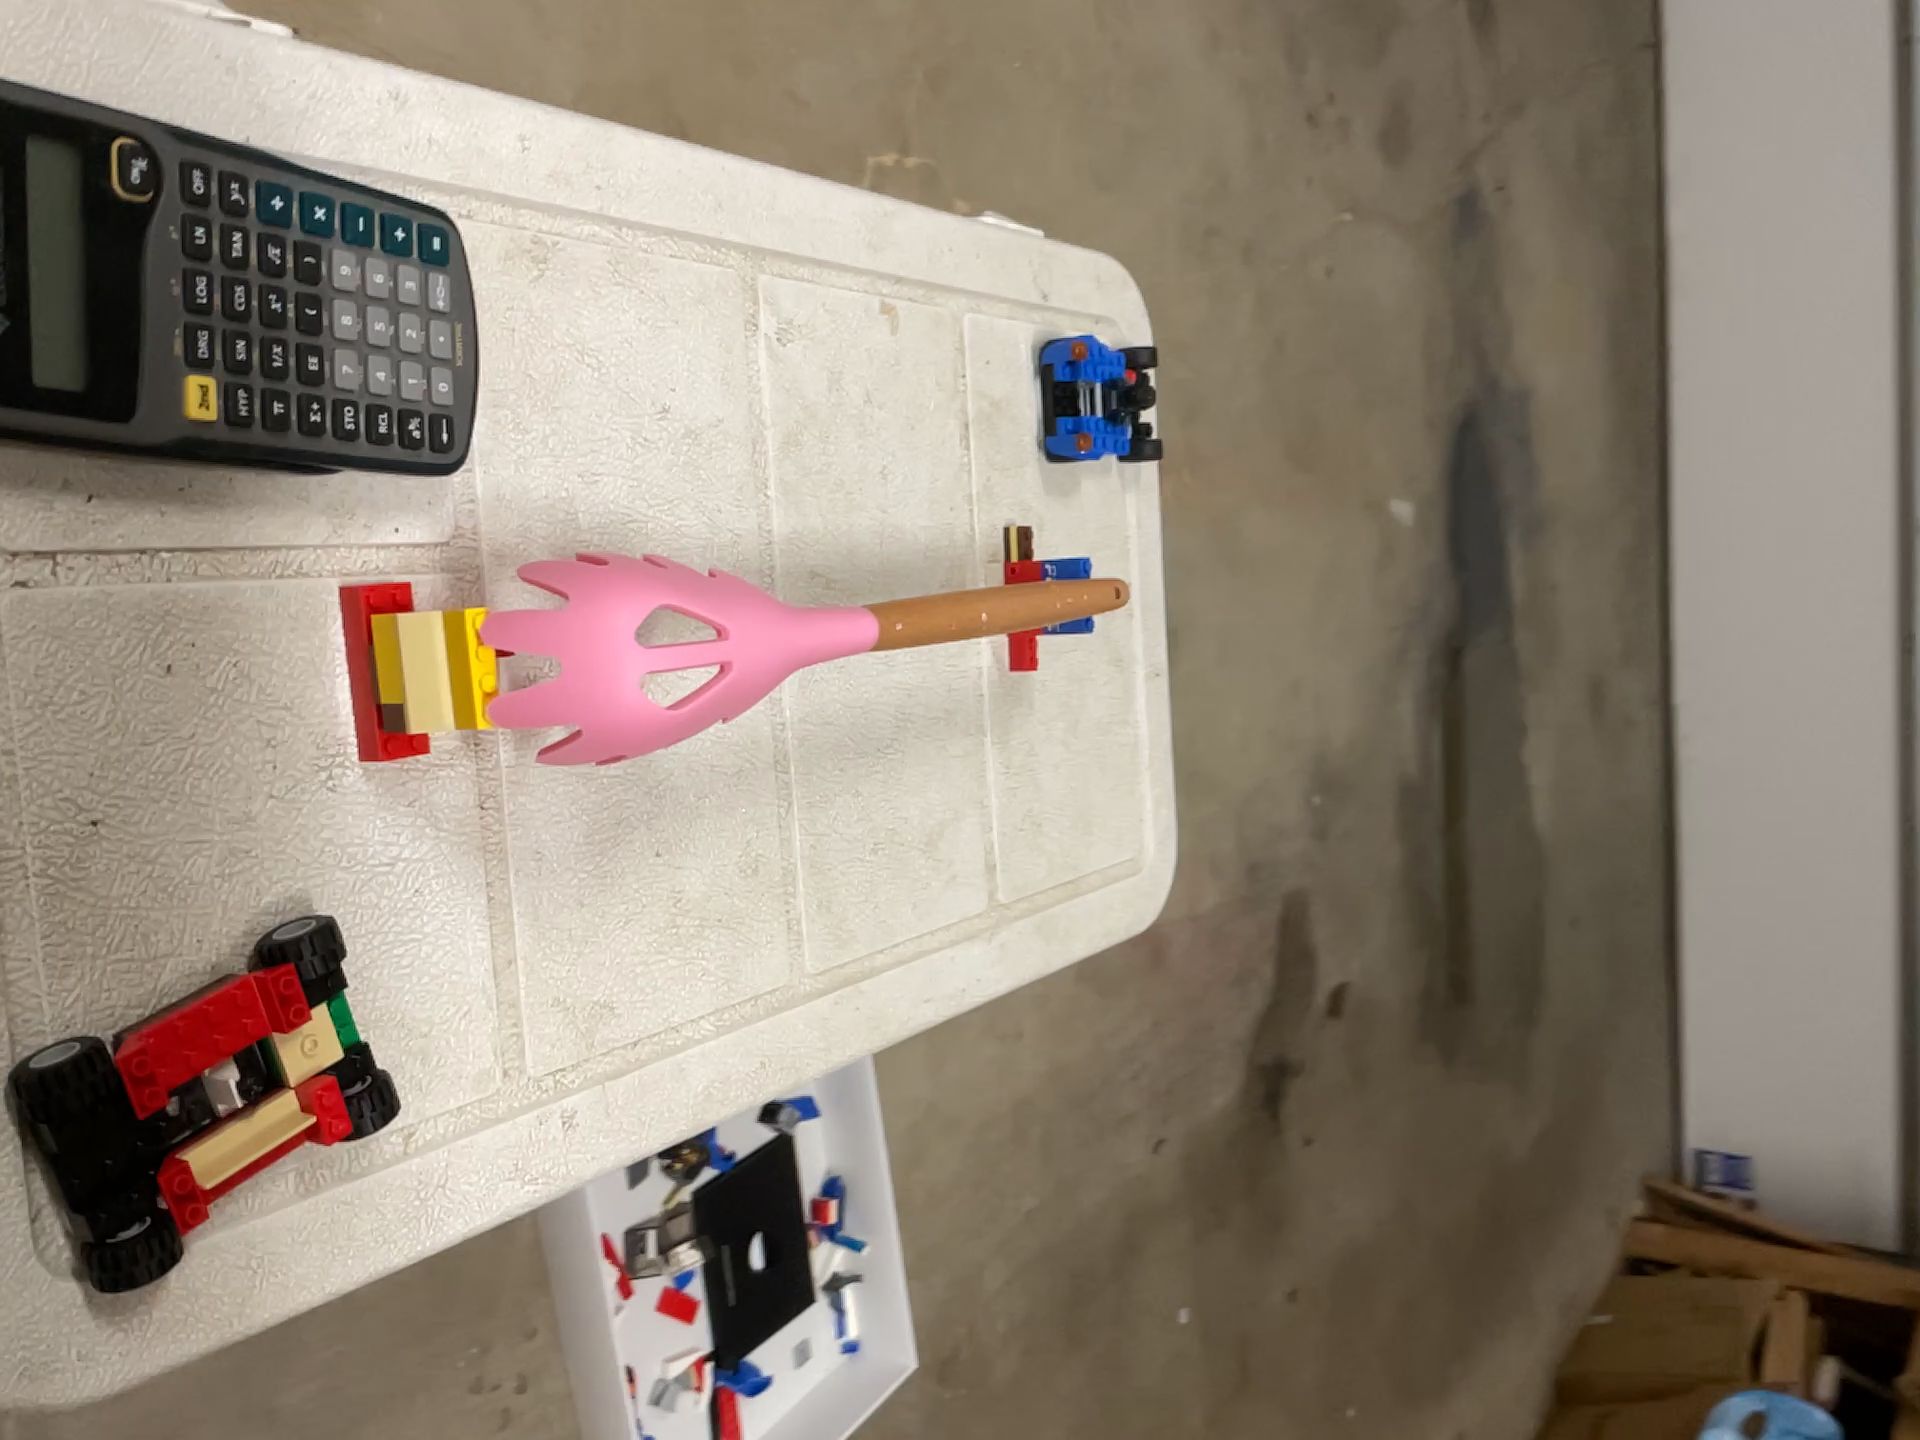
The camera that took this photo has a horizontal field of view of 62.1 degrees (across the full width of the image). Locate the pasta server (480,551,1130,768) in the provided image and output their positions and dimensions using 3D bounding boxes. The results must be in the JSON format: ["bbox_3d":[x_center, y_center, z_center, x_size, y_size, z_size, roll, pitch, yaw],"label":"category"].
[{"bbox_3d":[-0.025,-0.032,0.539,0.316,0.040,0.060,-13,99,-57],"label":"pasta server"}]
